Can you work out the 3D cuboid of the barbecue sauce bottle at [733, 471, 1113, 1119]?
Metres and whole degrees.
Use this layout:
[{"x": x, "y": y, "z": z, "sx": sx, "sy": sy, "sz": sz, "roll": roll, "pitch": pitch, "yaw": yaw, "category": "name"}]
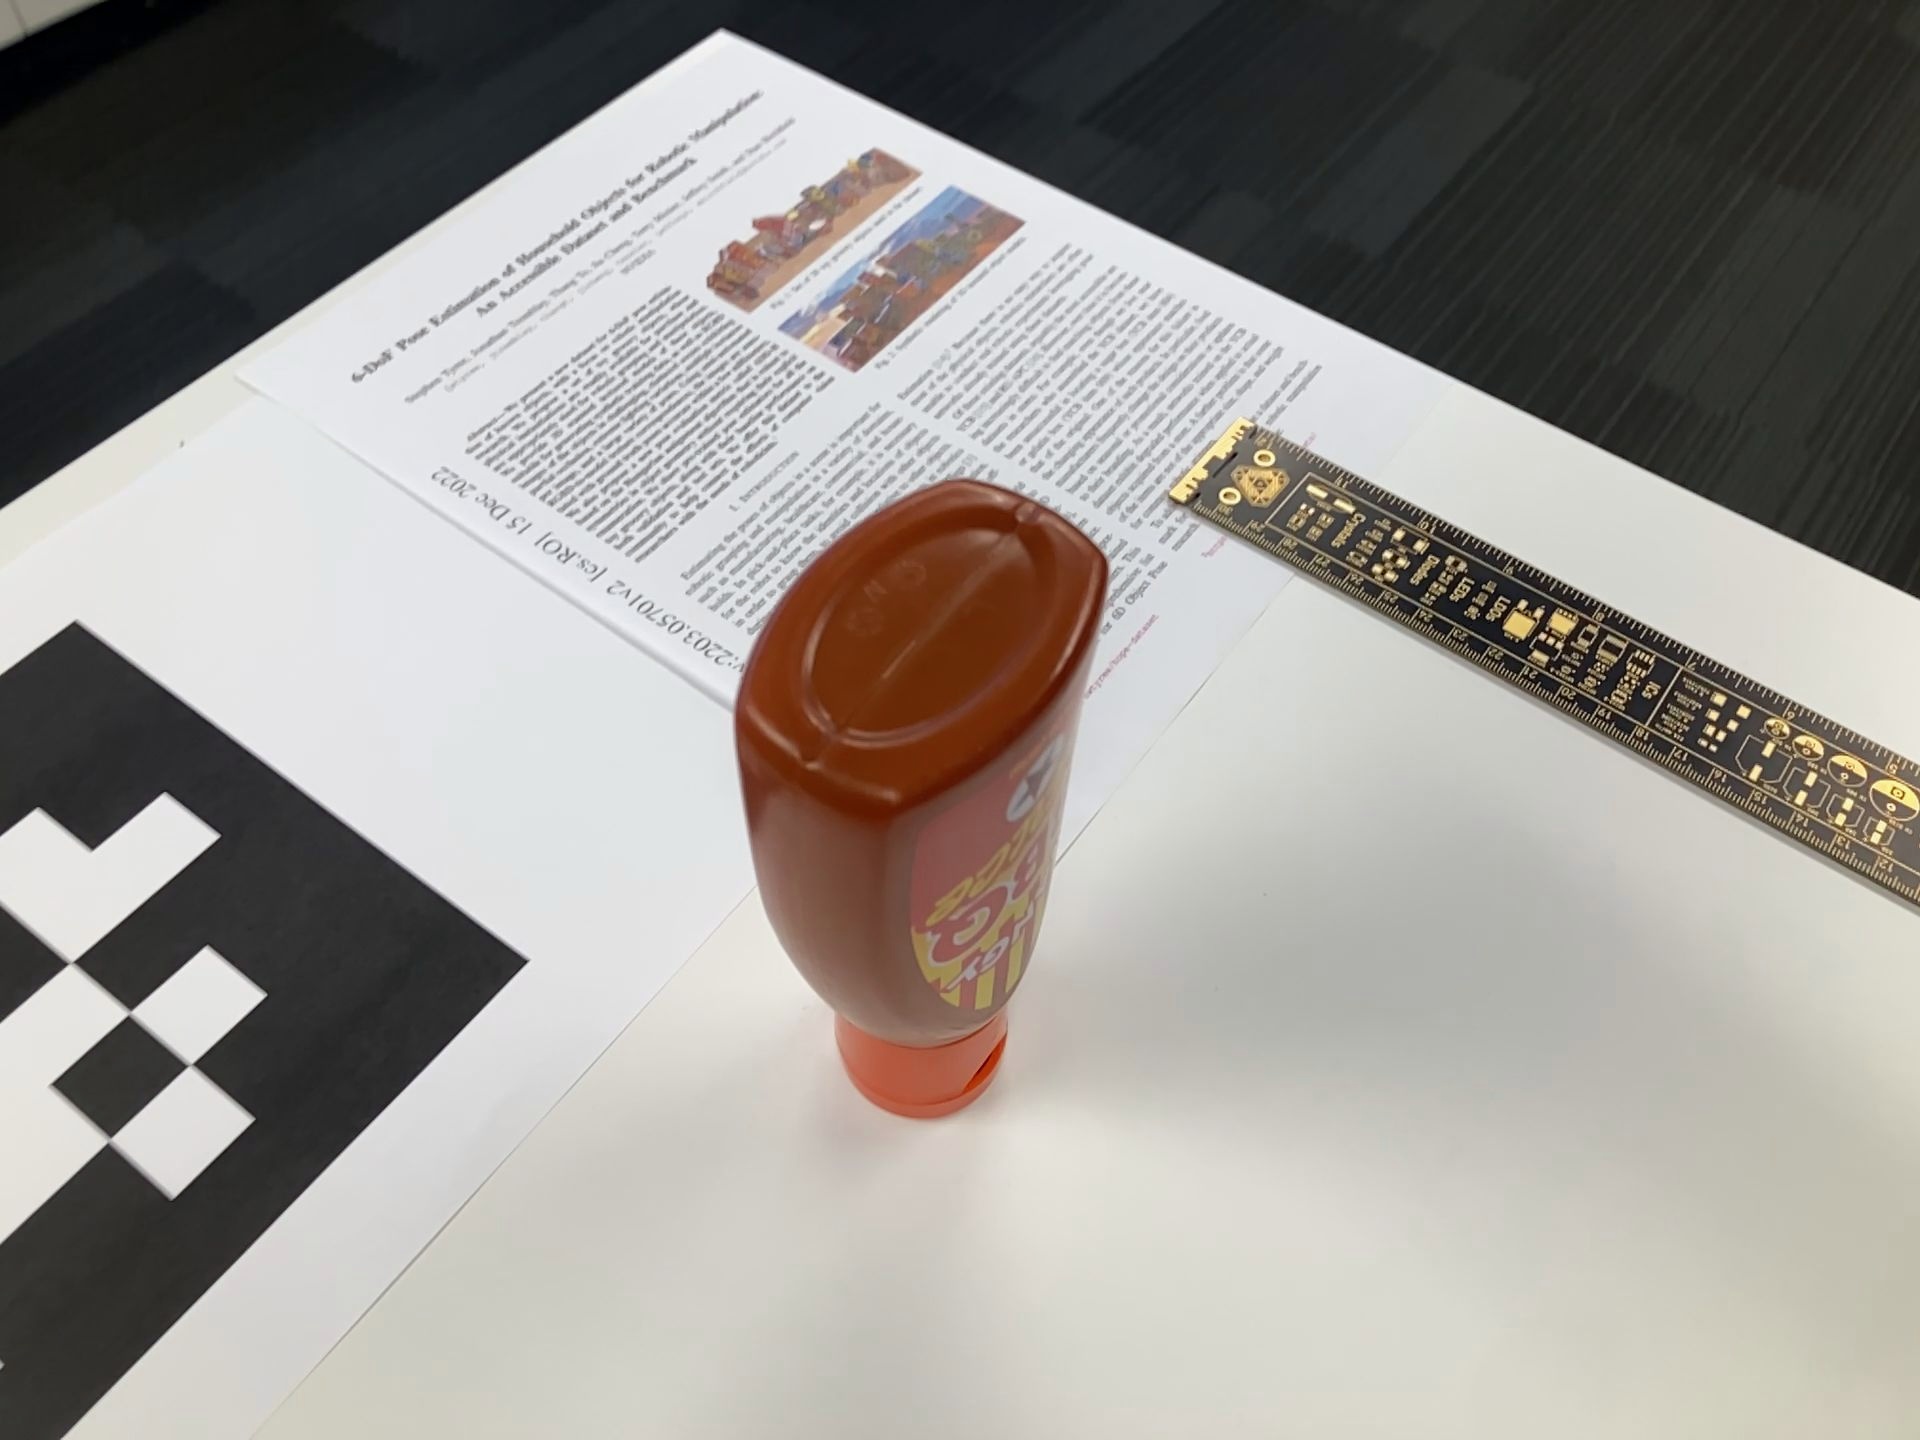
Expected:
[{"x": -0.007, "y": 0.027, "z": 0.284, "sx": 0.043, "sy": 0.148, "sz": 0.065, "roll": 30, "pitch": 59, "yaw": 18, "category": "barbecue sauce bottle"}]
